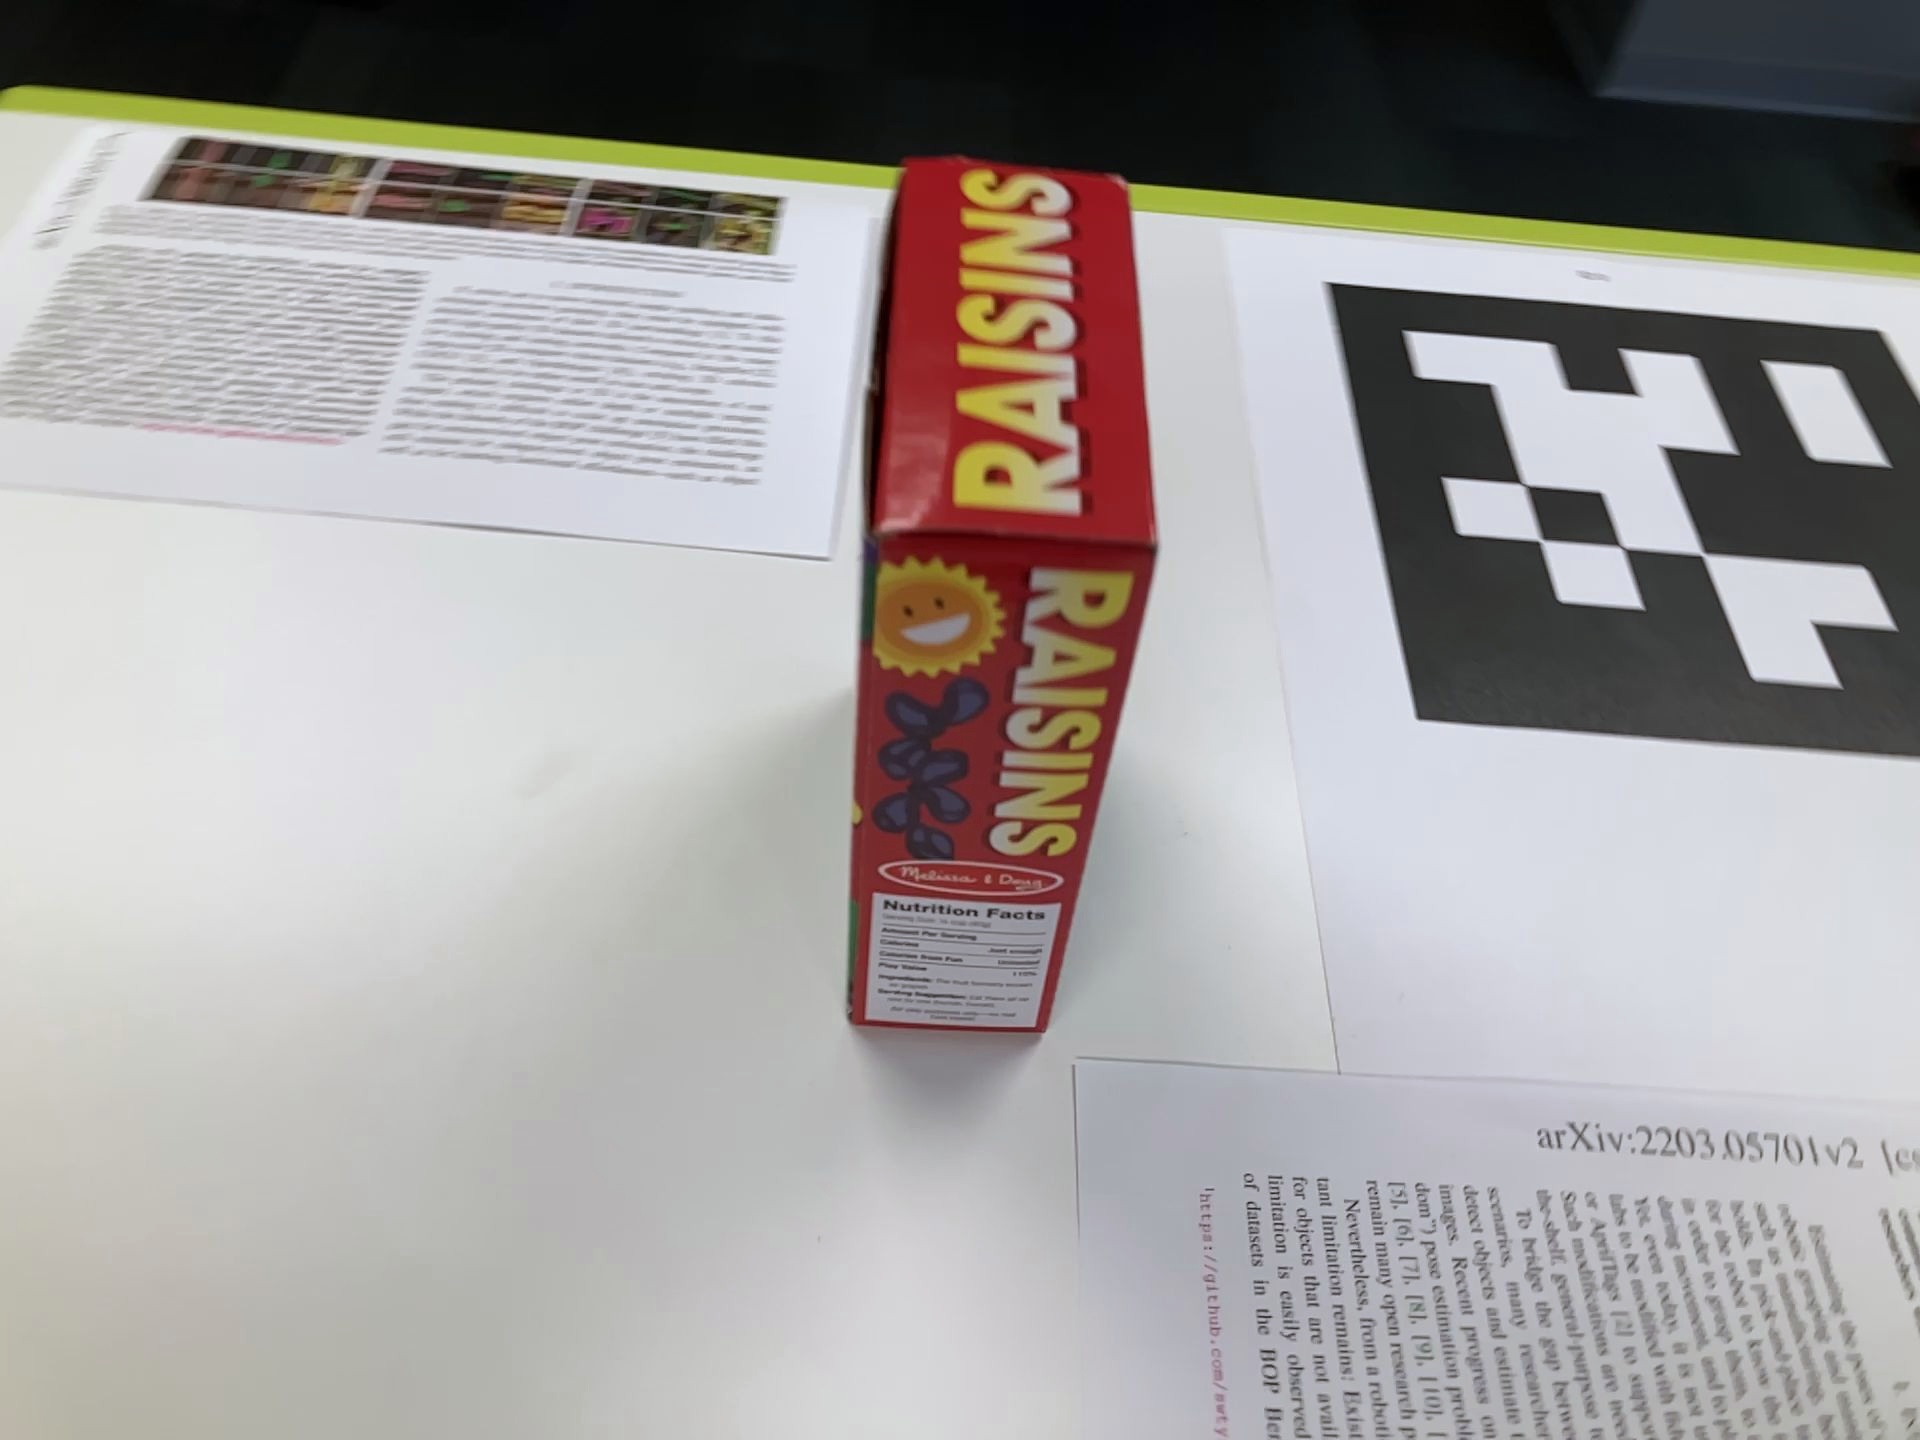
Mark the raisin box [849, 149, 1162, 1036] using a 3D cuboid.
[{"bbox_3d":[0.003,-0.016,0.265,0.040,0.123,0.086,5,50,-2],"label":"raisin box"}]
